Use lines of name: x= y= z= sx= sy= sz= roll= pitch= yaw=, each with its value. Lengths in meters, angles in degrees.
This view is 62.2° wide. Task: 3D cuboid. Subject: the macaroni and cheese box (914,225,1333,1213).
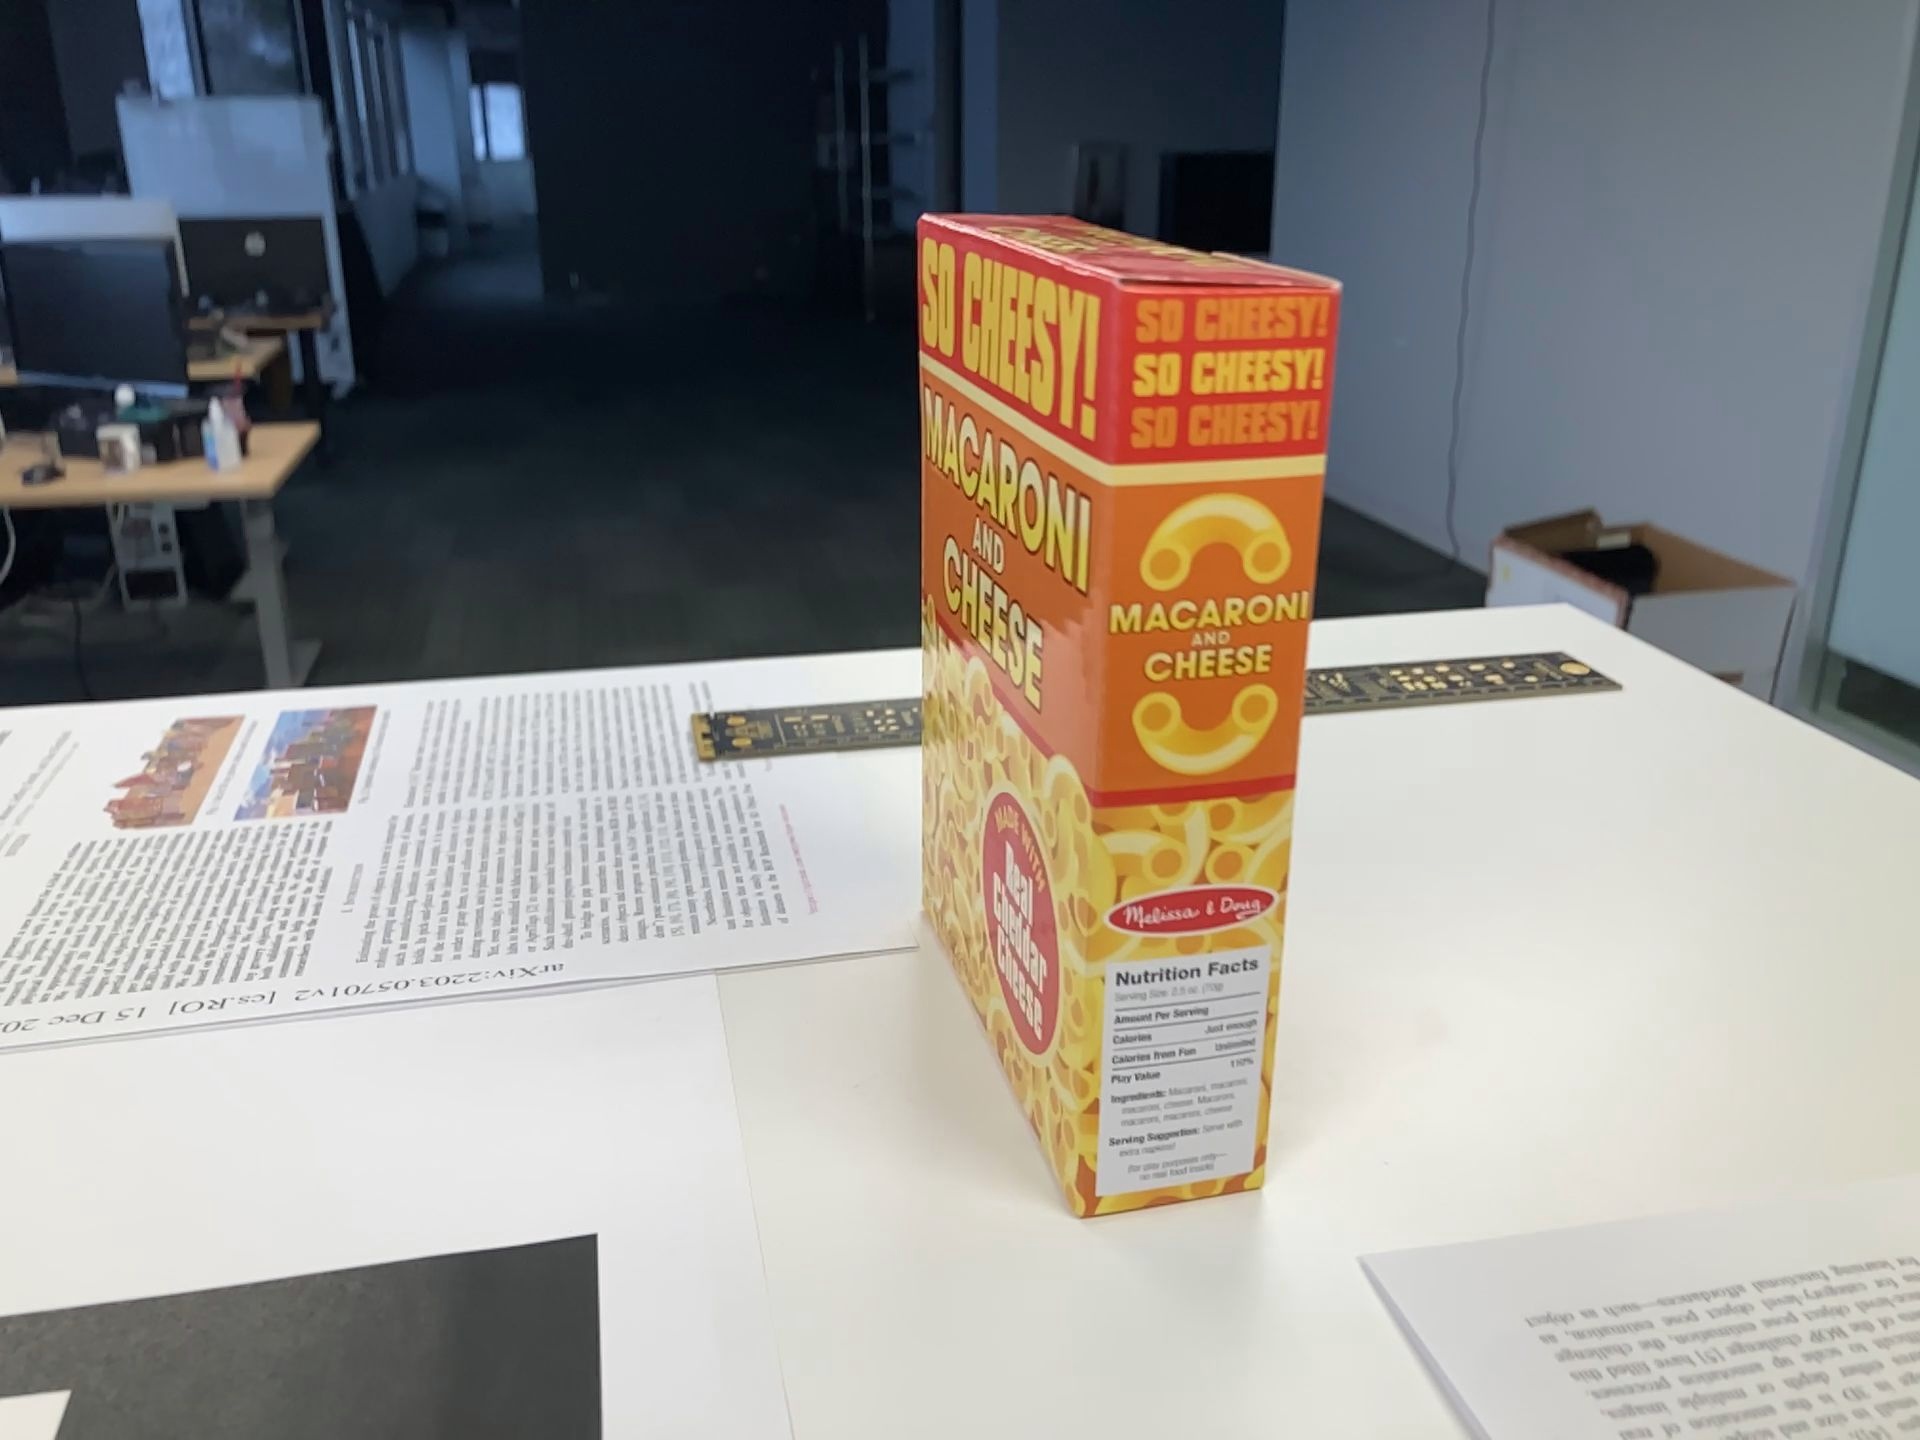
macaroni and cheese box: x=0.024 y=-0.010 z=0.320 sx=0.040 sy=0.166 sz=0.124 roll=-5 pitch=21 yaw=-15
